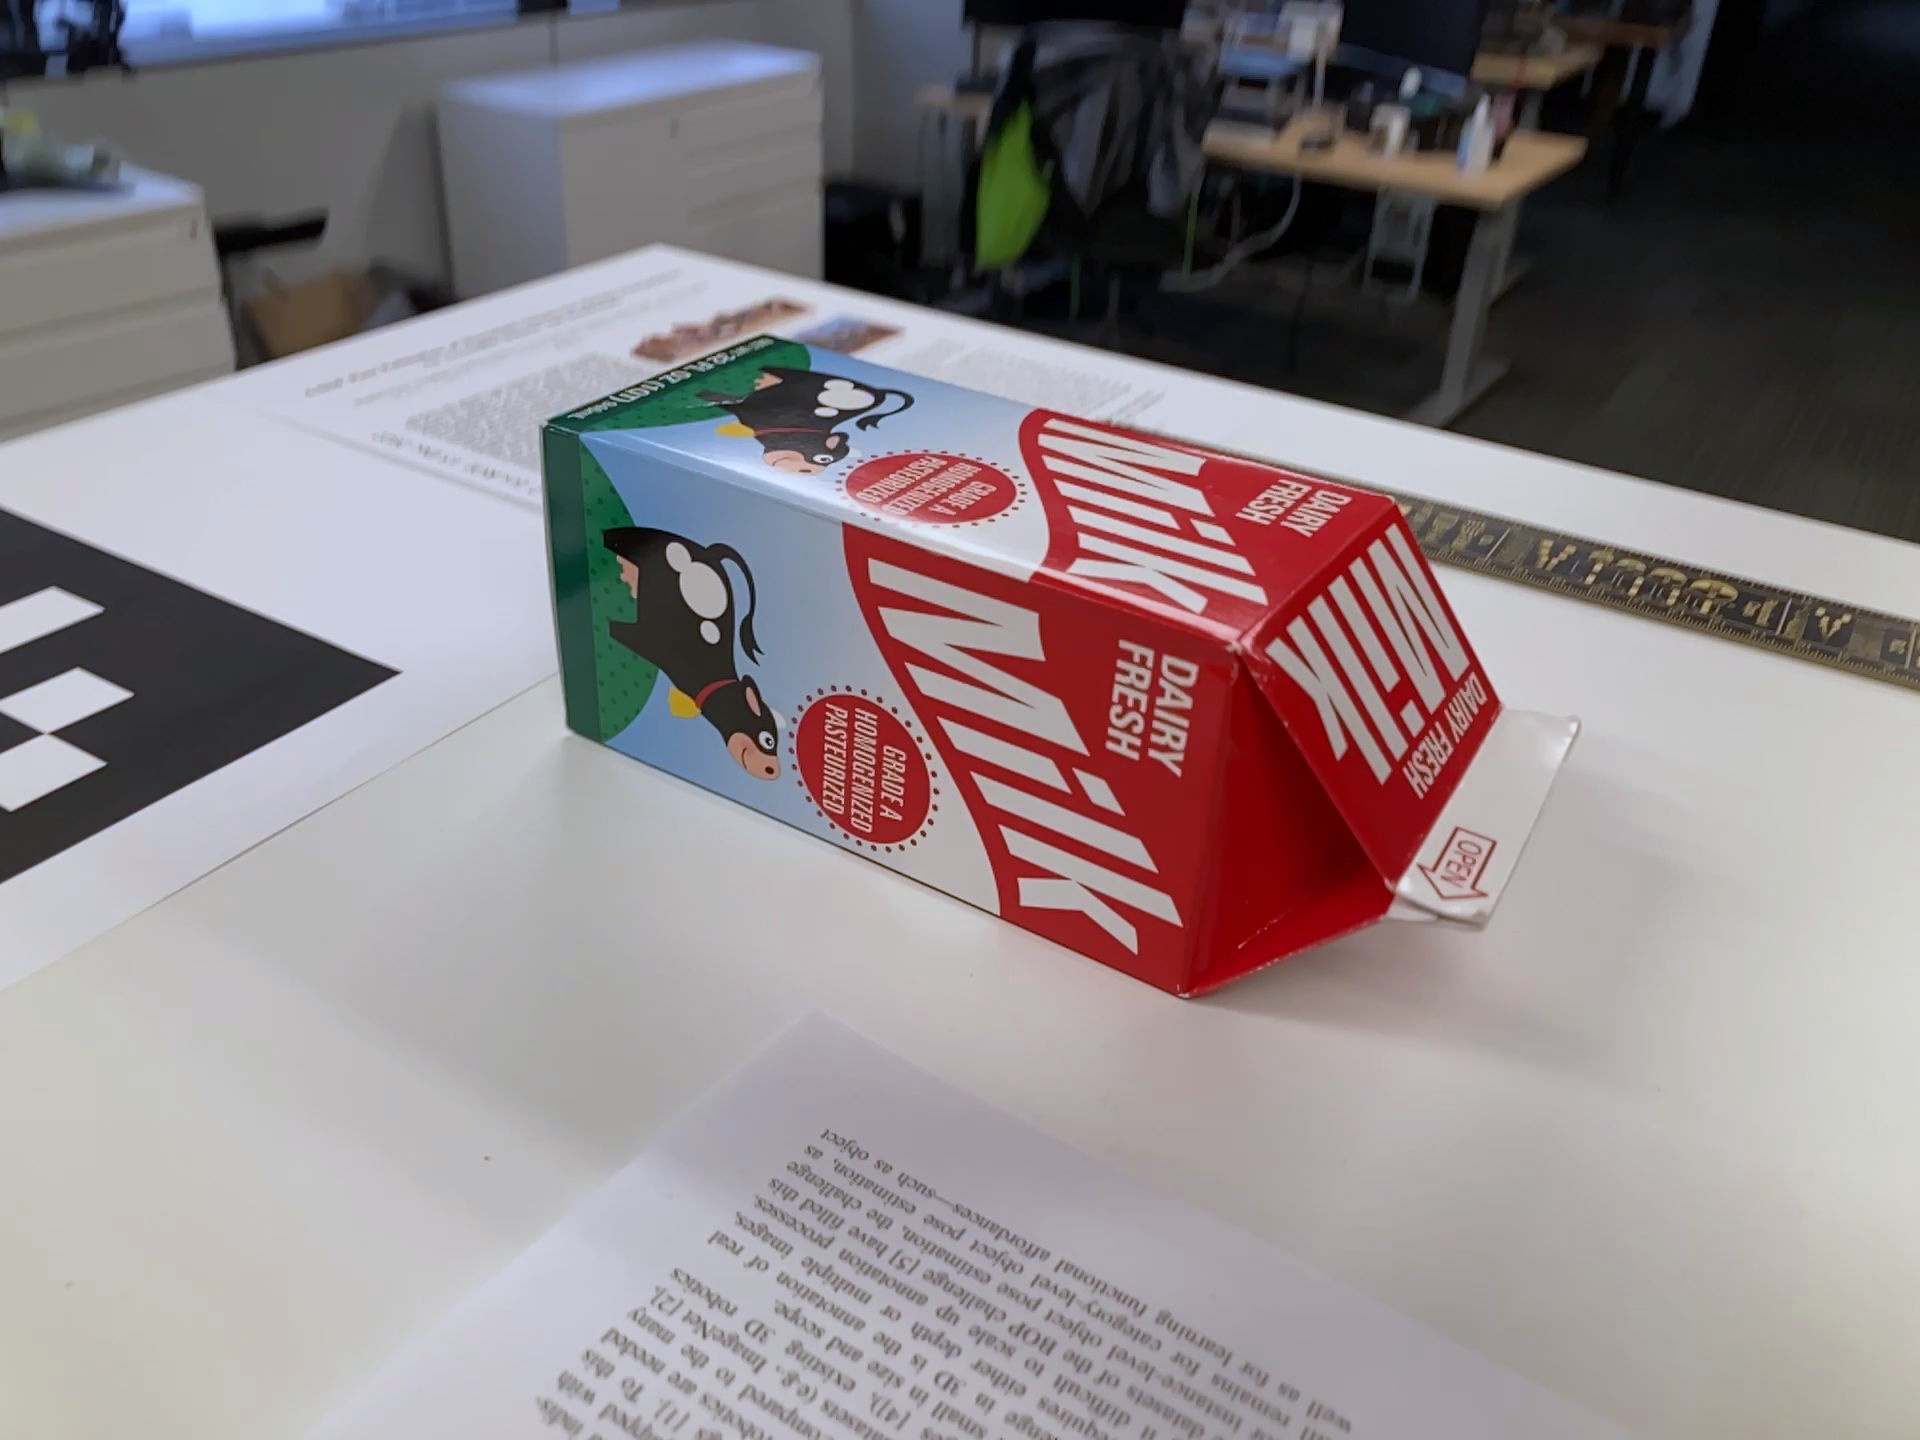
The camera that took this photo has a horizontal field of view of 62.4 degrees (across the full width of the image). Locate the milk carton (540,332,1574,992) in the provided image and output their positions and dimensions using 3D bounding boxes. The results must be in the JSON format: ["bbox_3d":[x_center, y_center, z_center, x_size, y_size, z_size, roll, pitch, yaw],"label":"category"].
[{"bbox_3d":[0.014,-0.013,0.306,0.190,0.073,0.072,20,34,26],"label":"milk carton"}]
